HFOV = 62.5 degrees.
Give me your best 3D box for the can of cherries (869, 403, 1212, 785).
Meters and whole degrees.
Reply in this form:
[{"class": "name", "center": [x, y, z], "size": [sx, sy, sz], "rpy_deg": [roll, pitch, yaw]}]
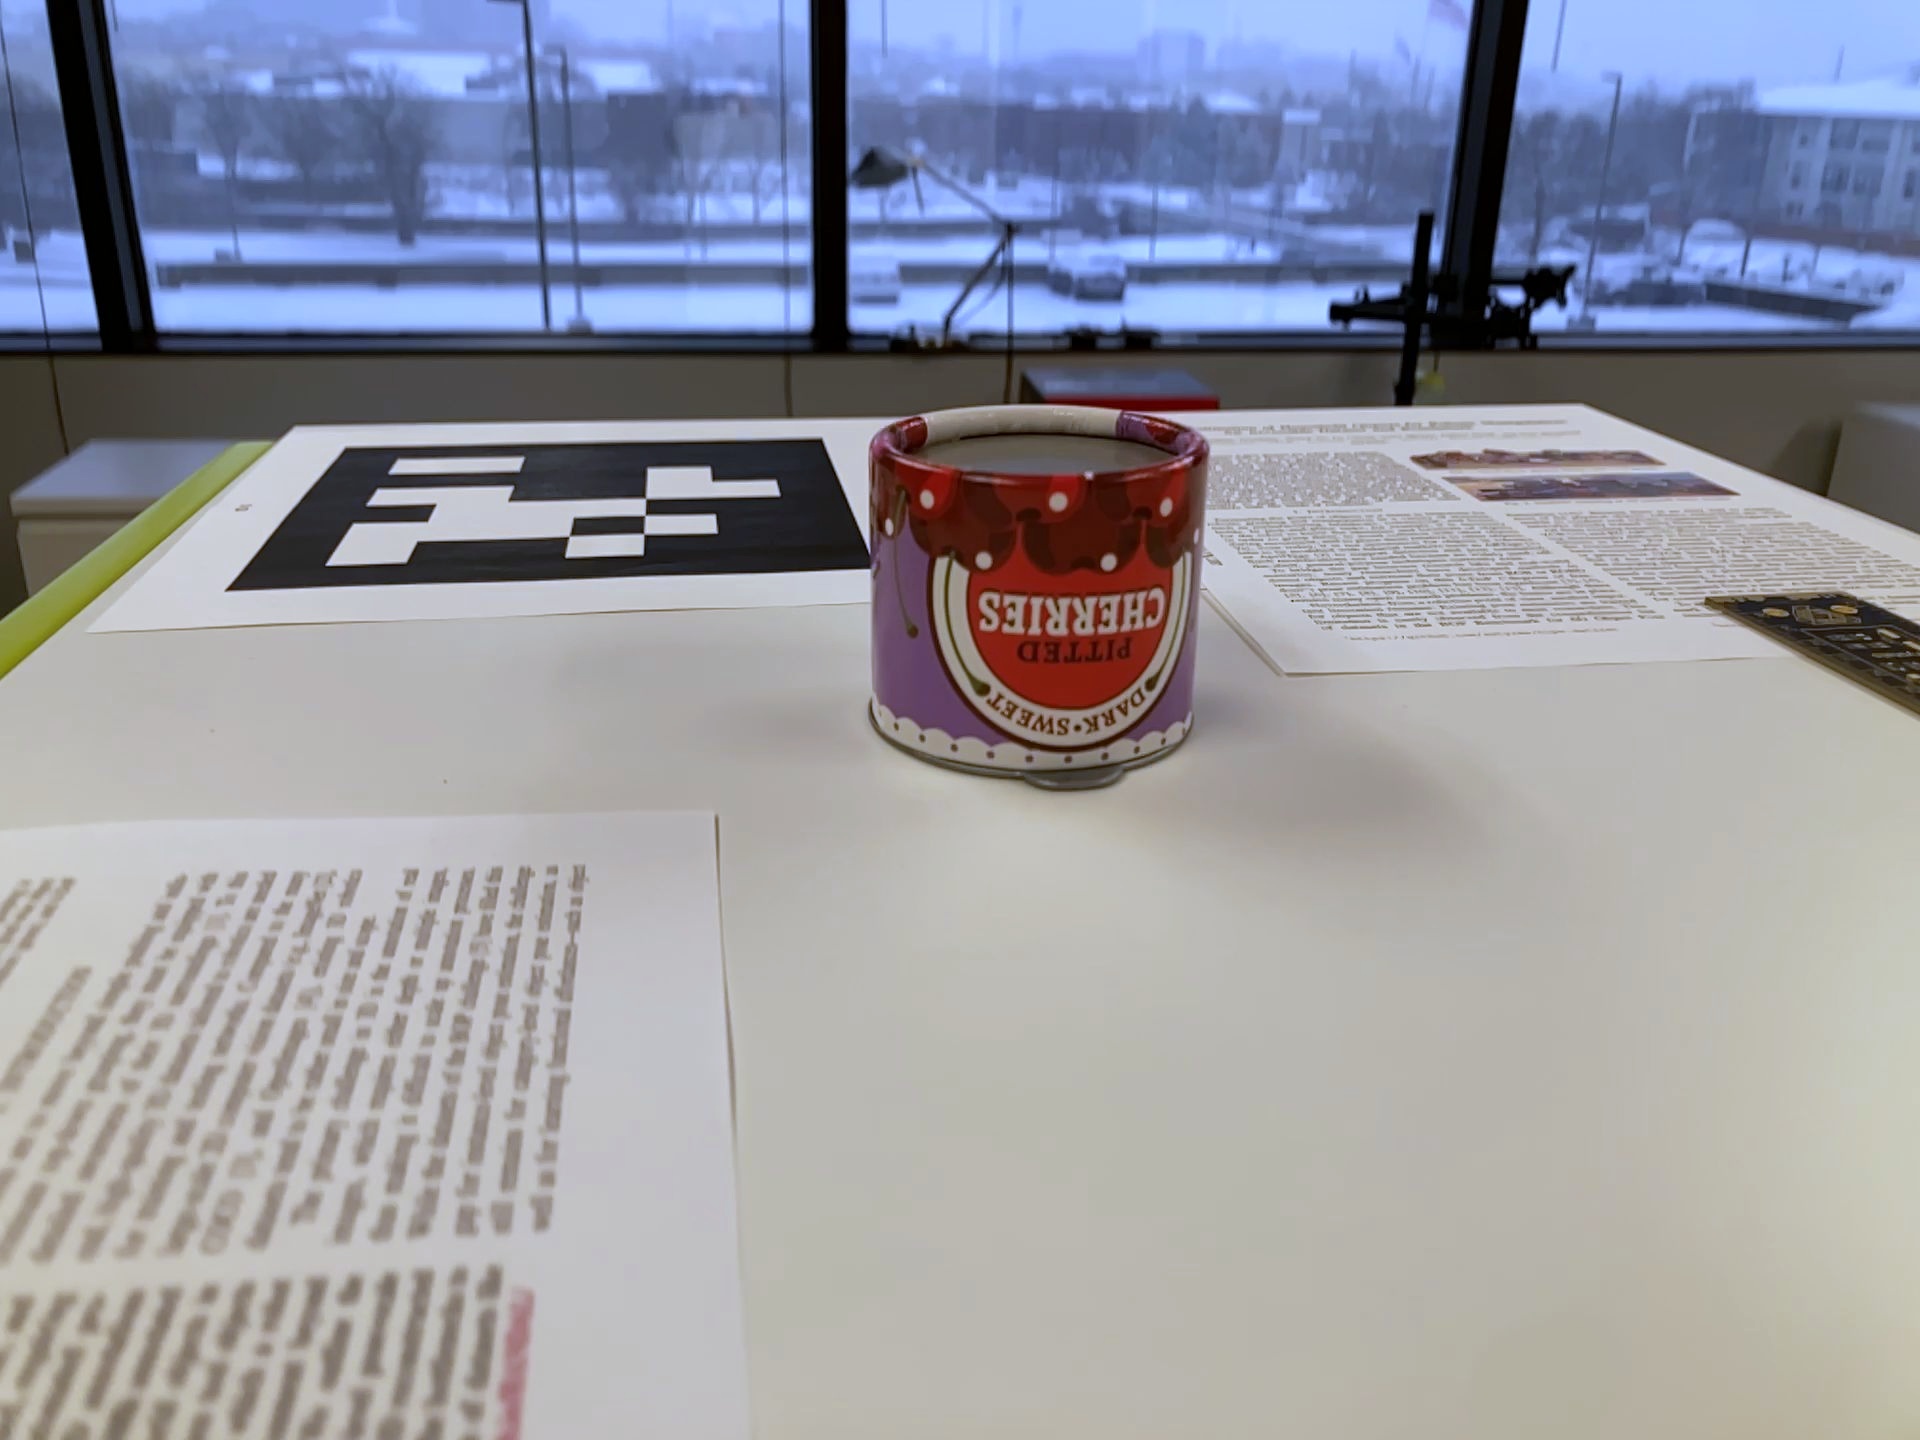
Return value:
[{"class": "can of cherries", "center": [0.016, -0.027, 0.310], "size": [0.071, 0.058, 0.071], "rpy_deg": [1, 22, 0]}]
